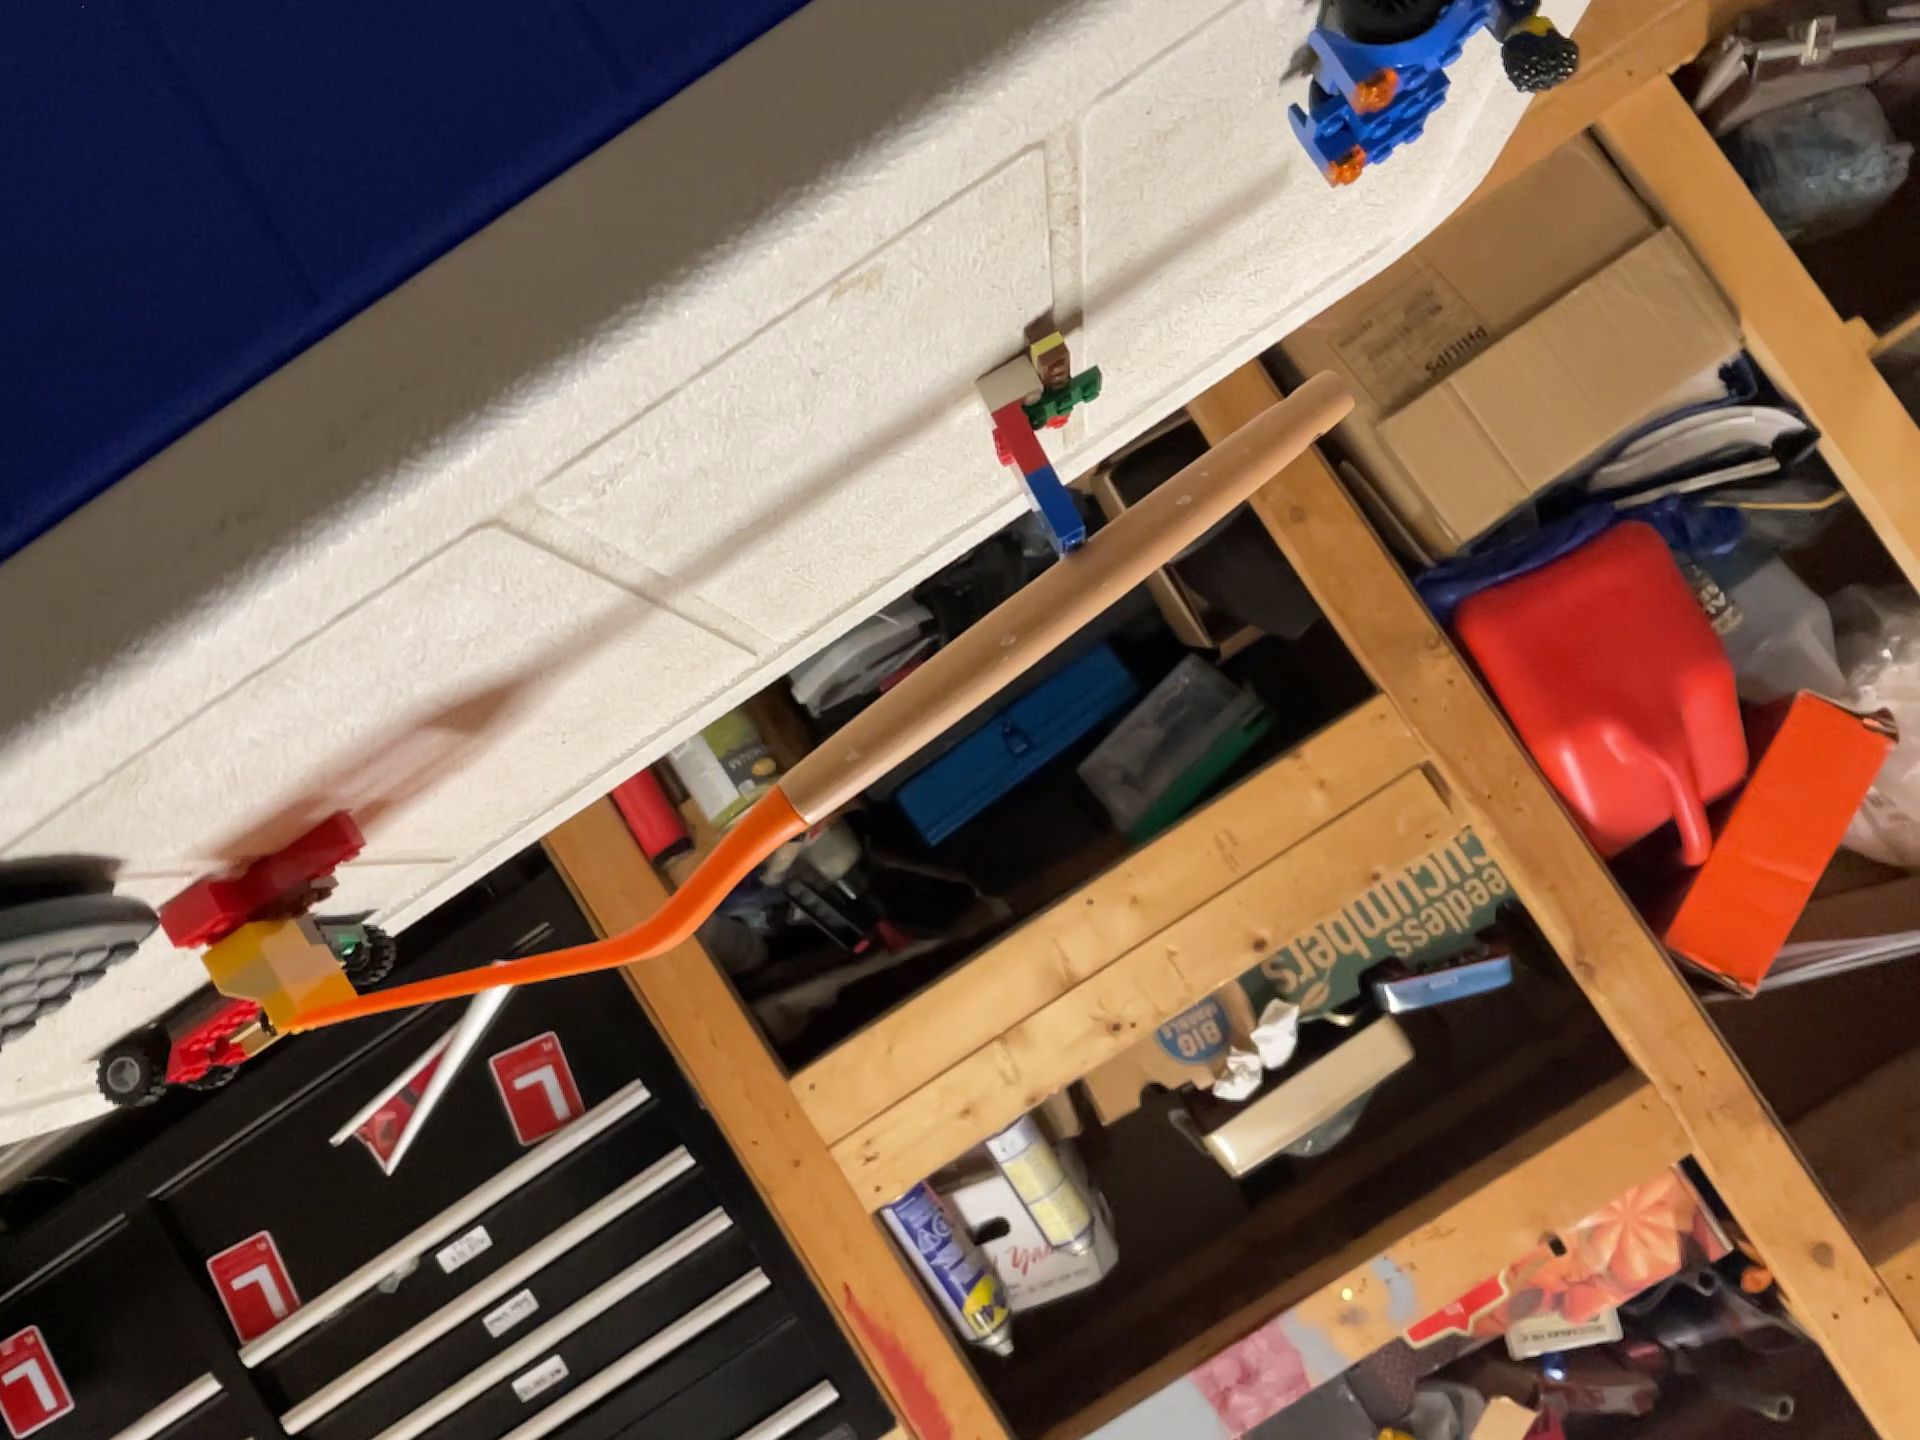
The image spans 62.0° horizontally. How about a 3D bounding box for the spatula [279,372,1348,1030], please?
[{"bbox_3d":[-0.032,0.000,0.434,0.322,0.041,0.081,-37,173,0],"label":"spatula"}]
